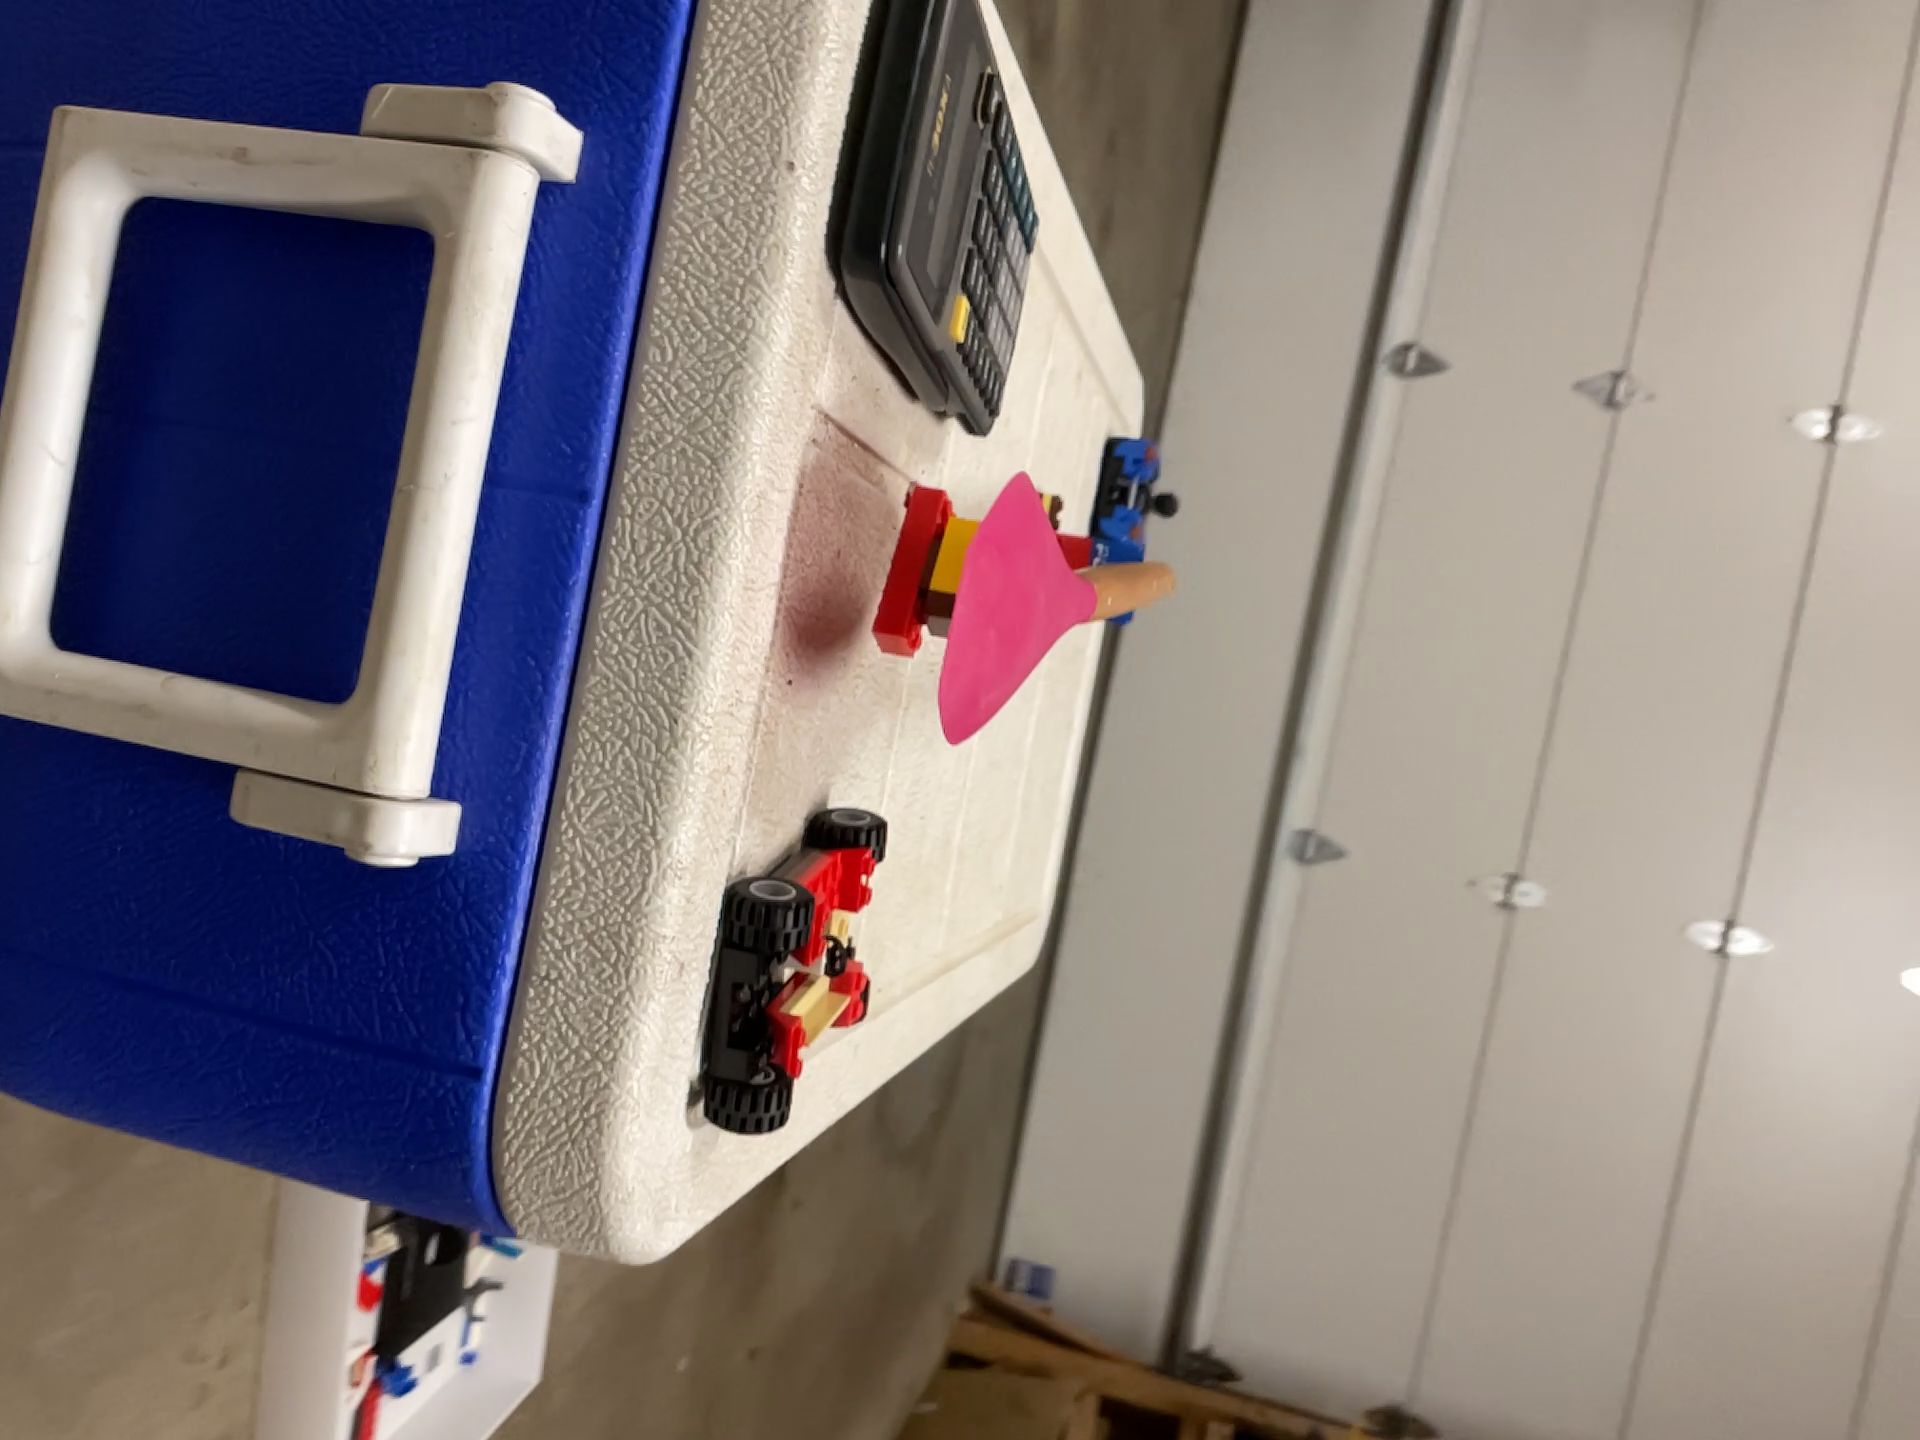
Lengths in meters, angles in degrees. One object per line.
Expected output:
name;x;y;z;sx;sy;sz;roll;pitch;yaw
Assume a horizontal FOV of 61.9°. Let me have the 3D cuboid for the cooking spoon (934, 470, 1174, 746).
cooking spoon;0.040;-0.039;0.496;0.319;0.017;0.068;-25;129;-74
